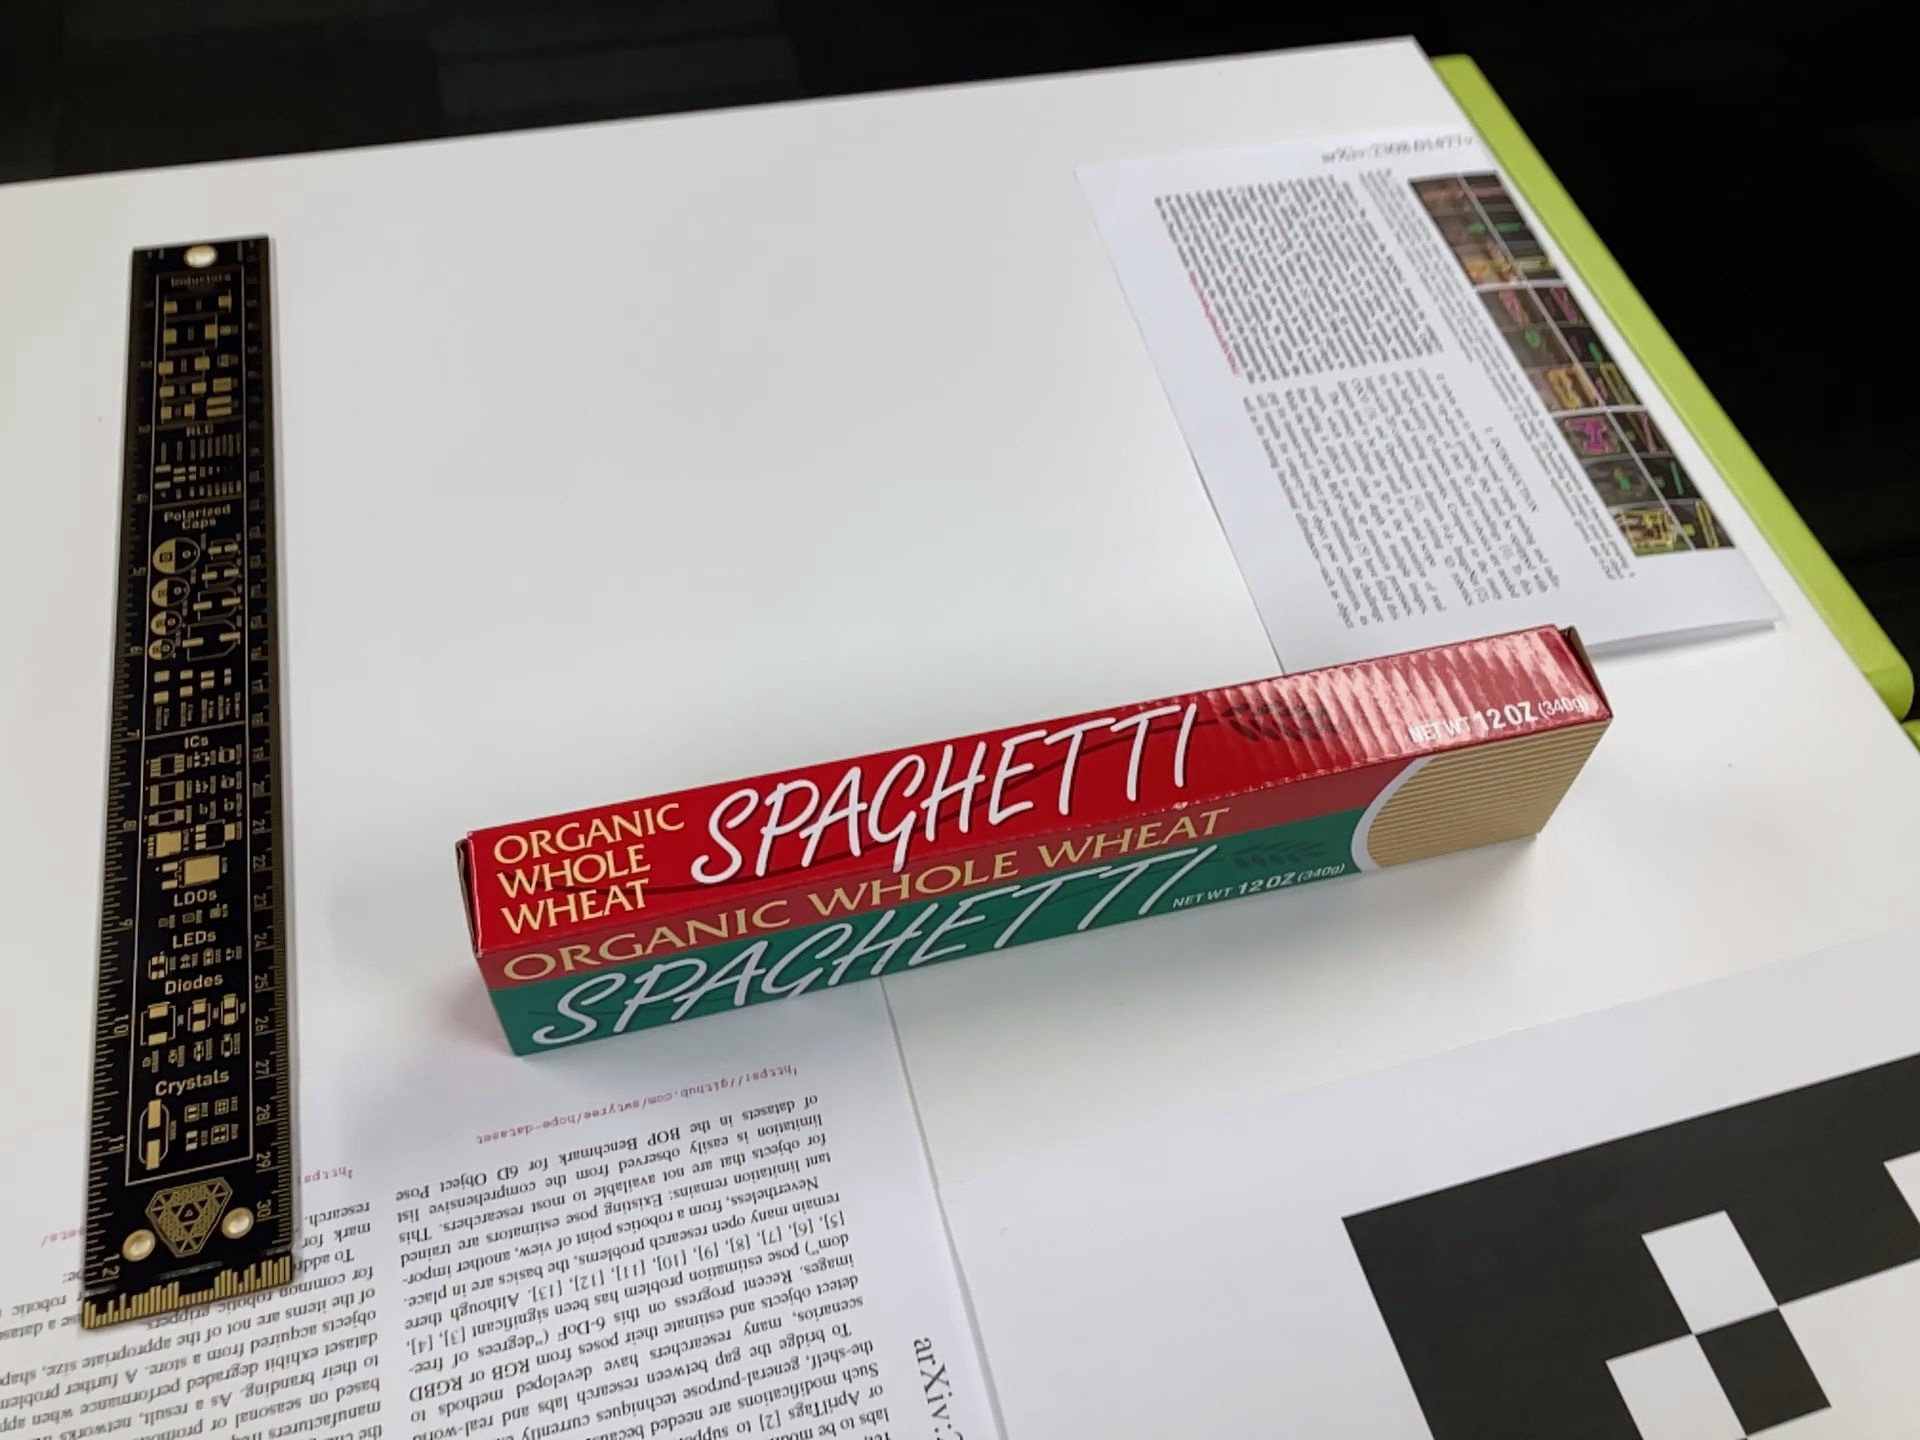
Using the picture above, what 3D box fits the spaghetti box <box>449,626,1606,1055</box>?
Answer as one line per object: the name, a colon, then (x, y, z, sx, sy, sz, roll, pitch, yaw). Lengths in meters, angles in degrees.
spaghetti box: (0.020, 0.025, 0.354, 0.250, 0.050, 0.028, -11, 55, -11)
